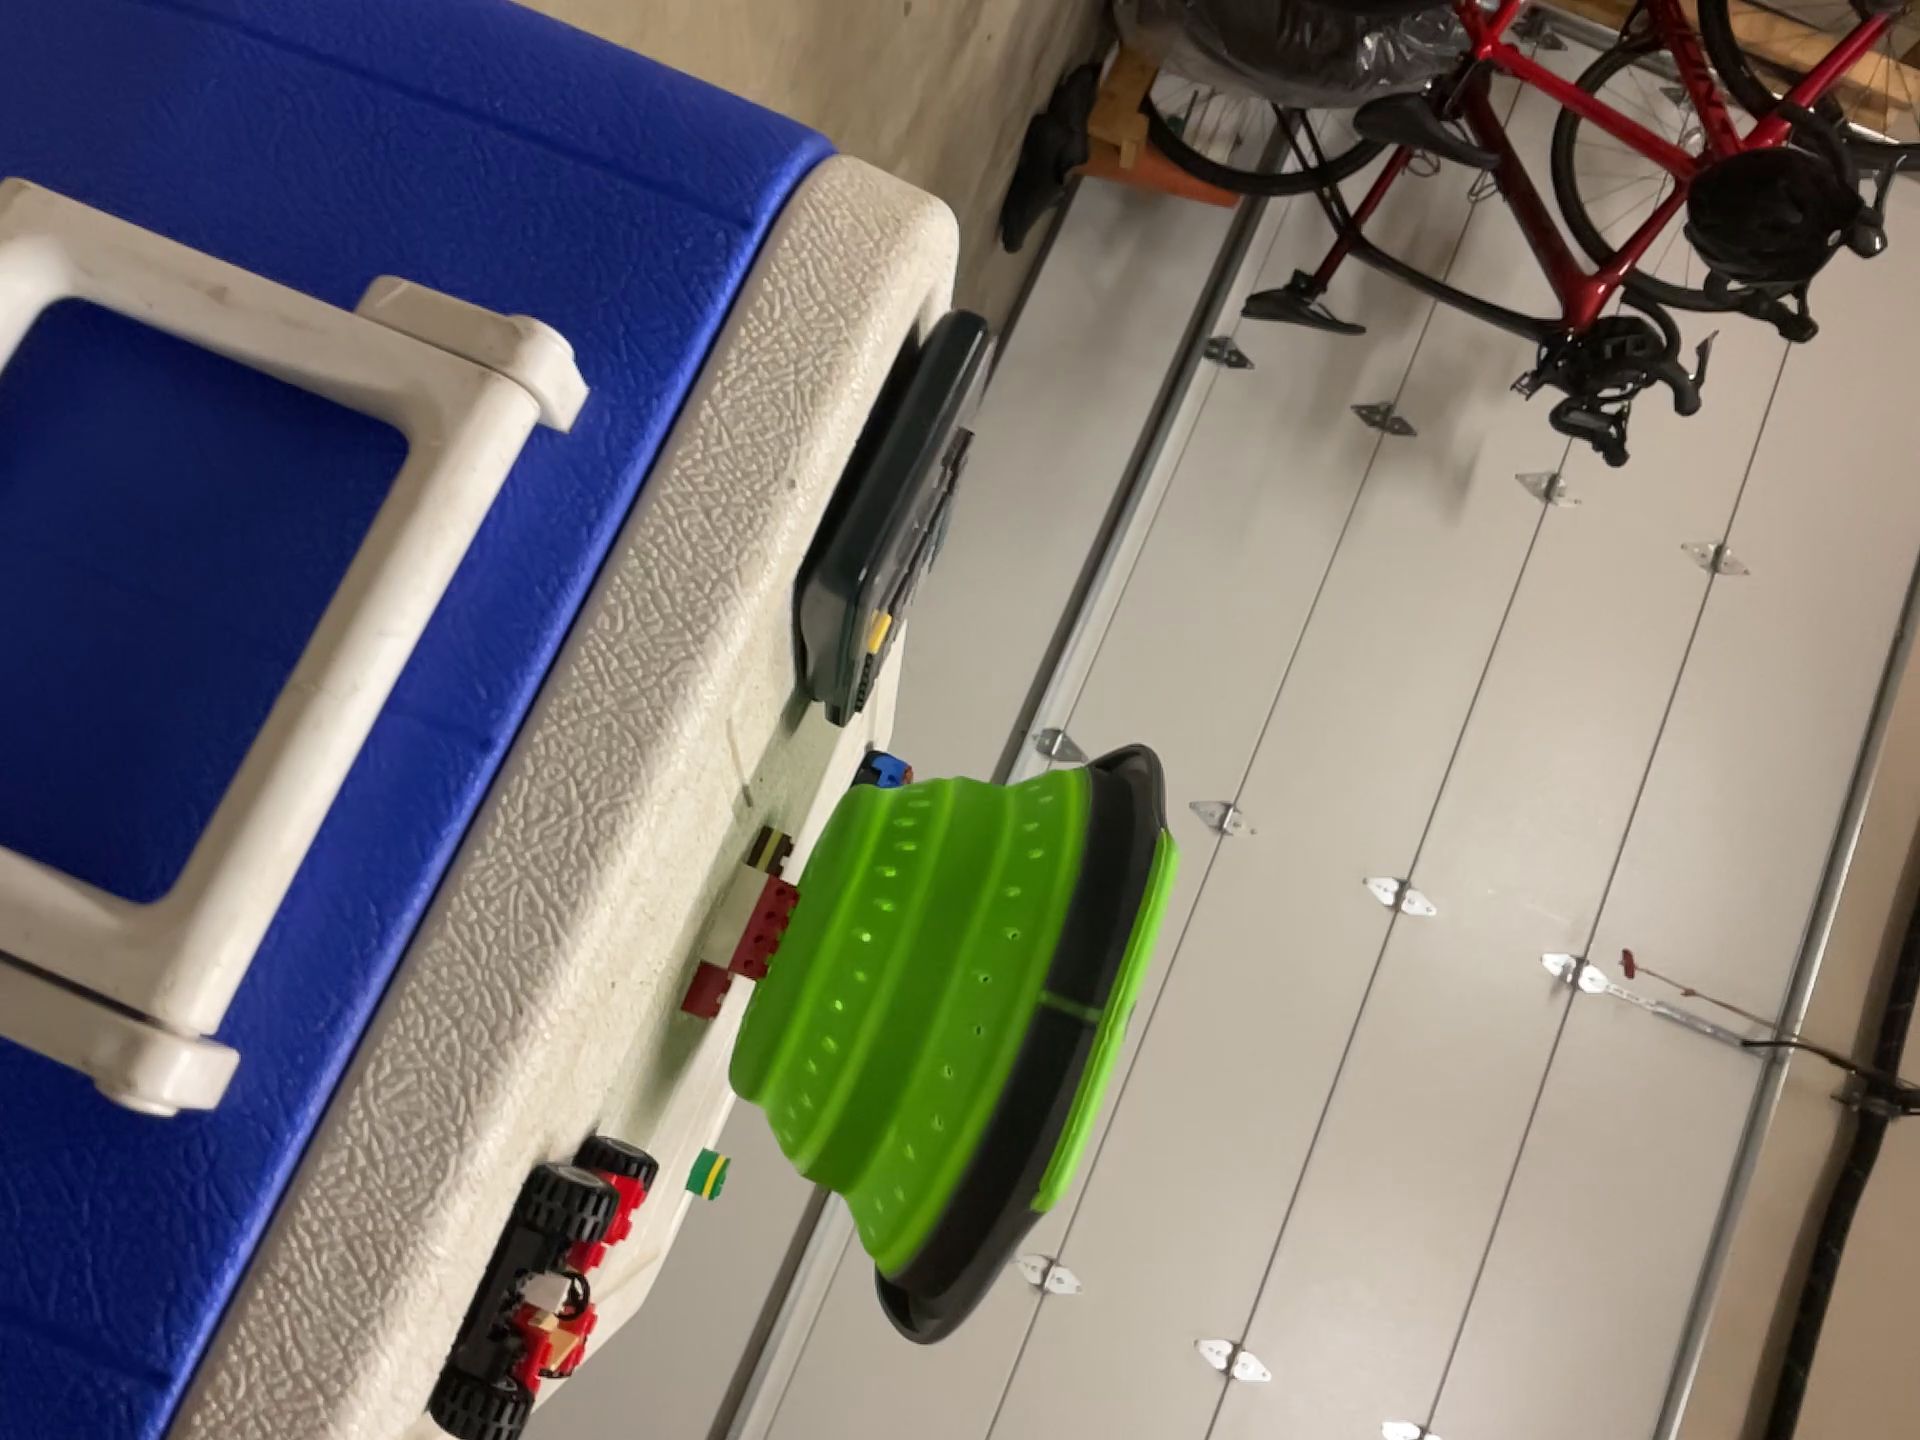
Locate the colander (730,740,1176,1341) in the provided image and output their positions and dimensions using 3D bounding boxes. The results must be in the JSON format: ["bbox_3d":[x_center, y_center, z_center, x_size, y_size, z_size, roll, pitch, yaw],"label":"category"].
[{"bbox_3d":[-0.029,0.106,0.606,0.396,0.094,0.204,126,-15,-74],"label":"colander"}]
